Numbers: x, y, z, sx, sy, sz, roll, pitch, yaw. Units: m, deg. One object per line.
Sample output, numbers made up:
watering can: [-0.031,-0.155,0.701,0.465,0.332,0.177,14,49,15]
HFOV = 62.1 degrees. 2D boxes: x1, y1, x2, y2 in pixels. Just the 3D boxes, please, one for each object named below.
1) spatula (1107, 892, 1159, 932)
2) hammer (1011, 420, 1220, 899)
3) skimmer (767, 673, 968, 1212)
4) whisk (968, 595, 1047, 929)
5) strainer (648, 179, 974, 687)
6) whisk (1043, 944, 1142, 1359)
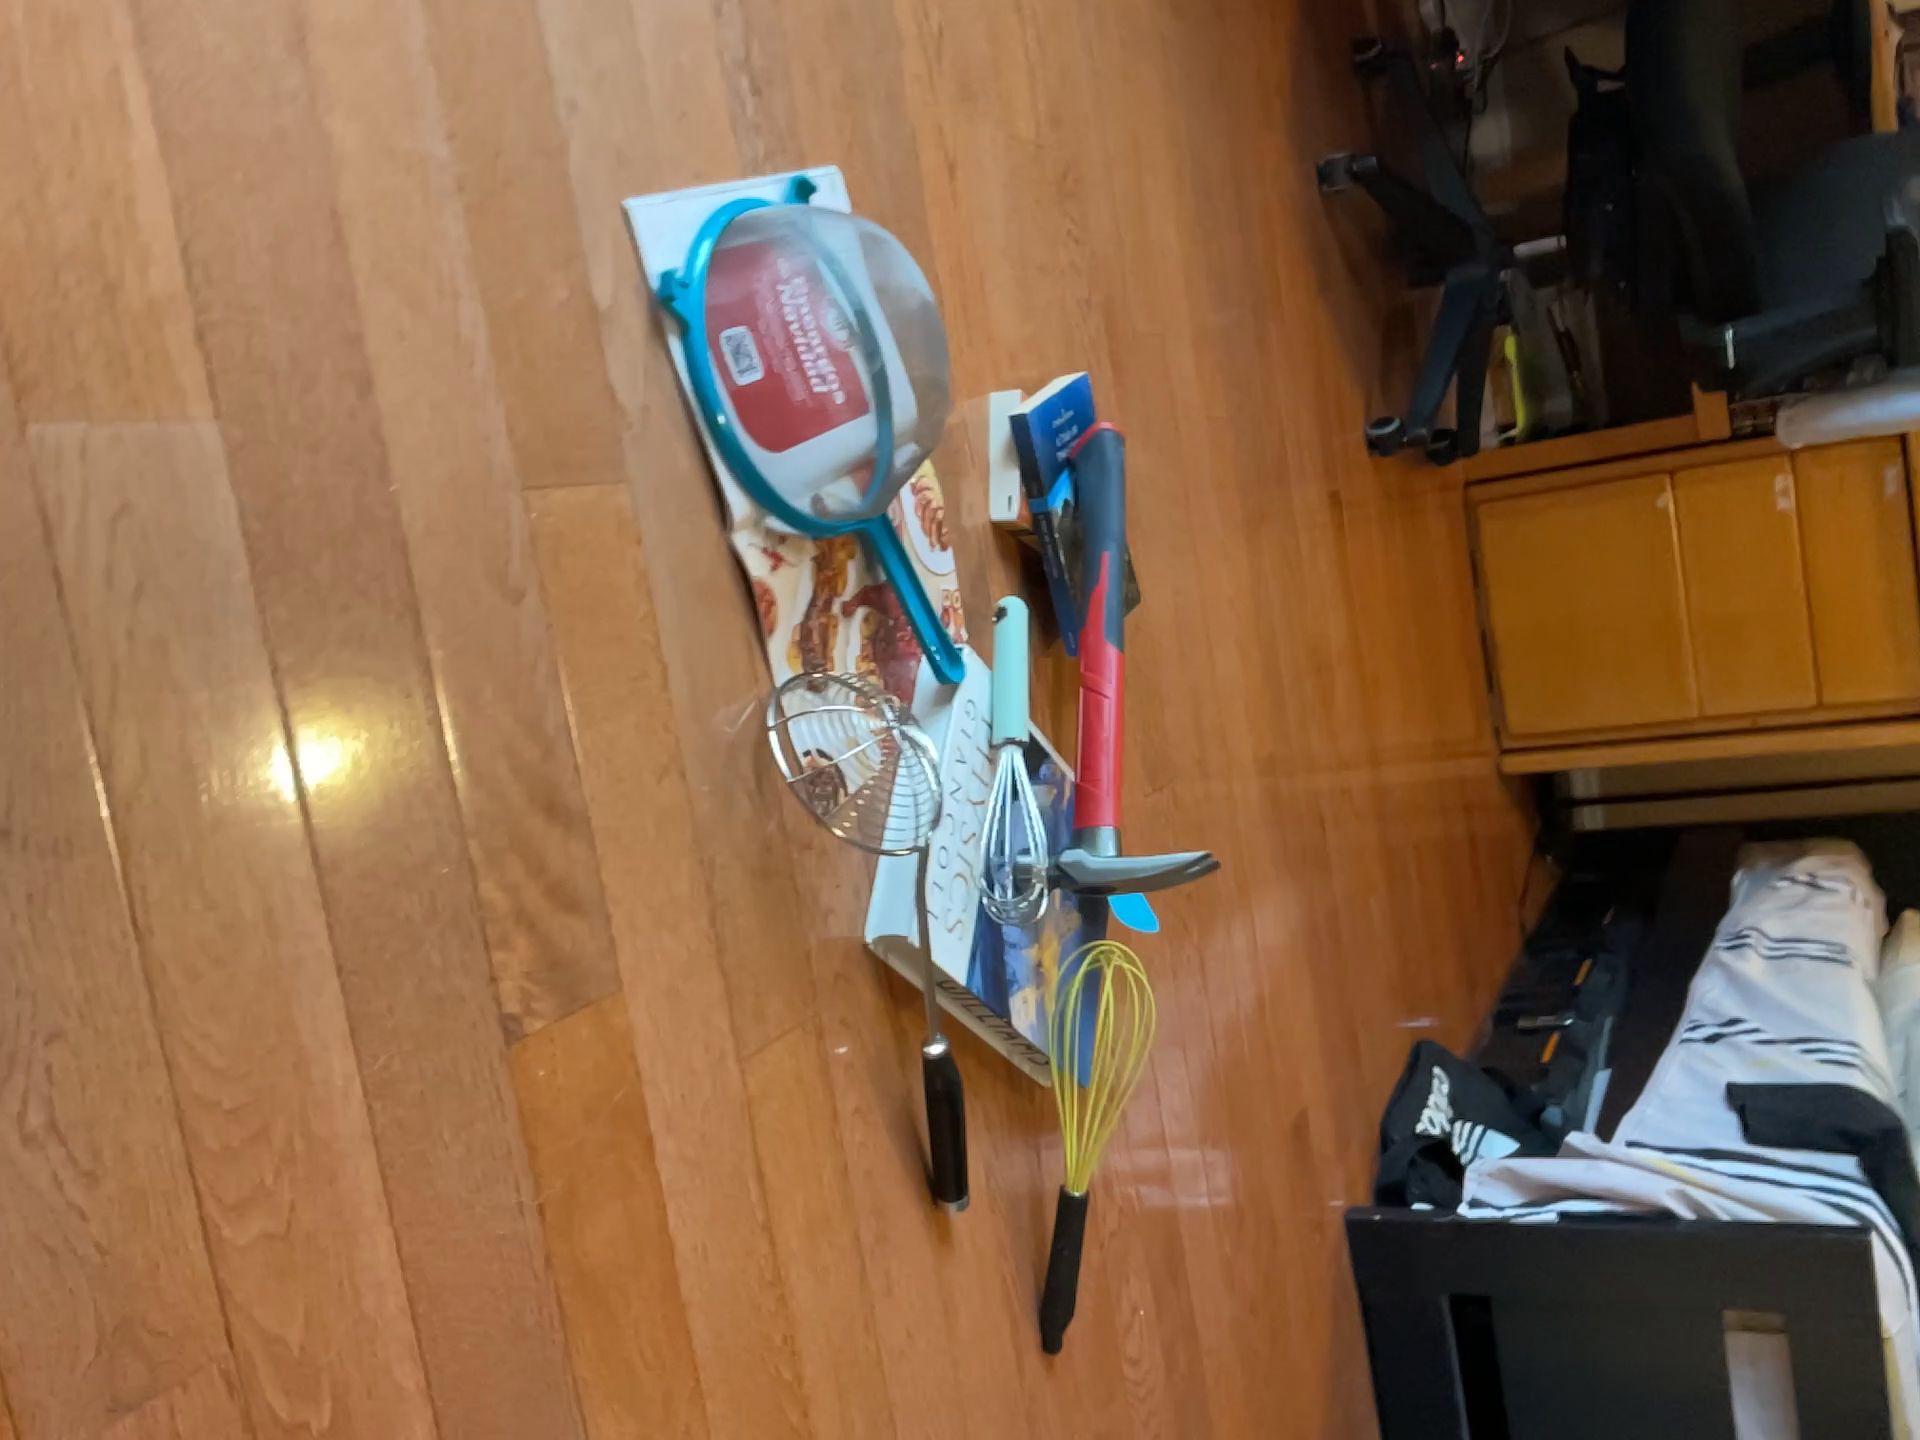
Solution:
spatula: [0.121,0.006,1.250,0.082,0.044,0.318,25,62,-56]
hammer: [0.118,-0.058,1.176,0.038,0.143,0.387,45,43,-54]
skimmer: [-0.048,0.147,0.998,0.127,0.090,0.363,-45,134,-59]
whisk: [0.034,0.024,1.092,0.059,0.057,0.247,15,62,-28]
strainer: [-0.043,-0.171,0.990,0.340,0.095,0.211,62,33,-23]
whisk: [0.086,0.312,1.145,0.080,0.067,0.311,-24,121,-77]
